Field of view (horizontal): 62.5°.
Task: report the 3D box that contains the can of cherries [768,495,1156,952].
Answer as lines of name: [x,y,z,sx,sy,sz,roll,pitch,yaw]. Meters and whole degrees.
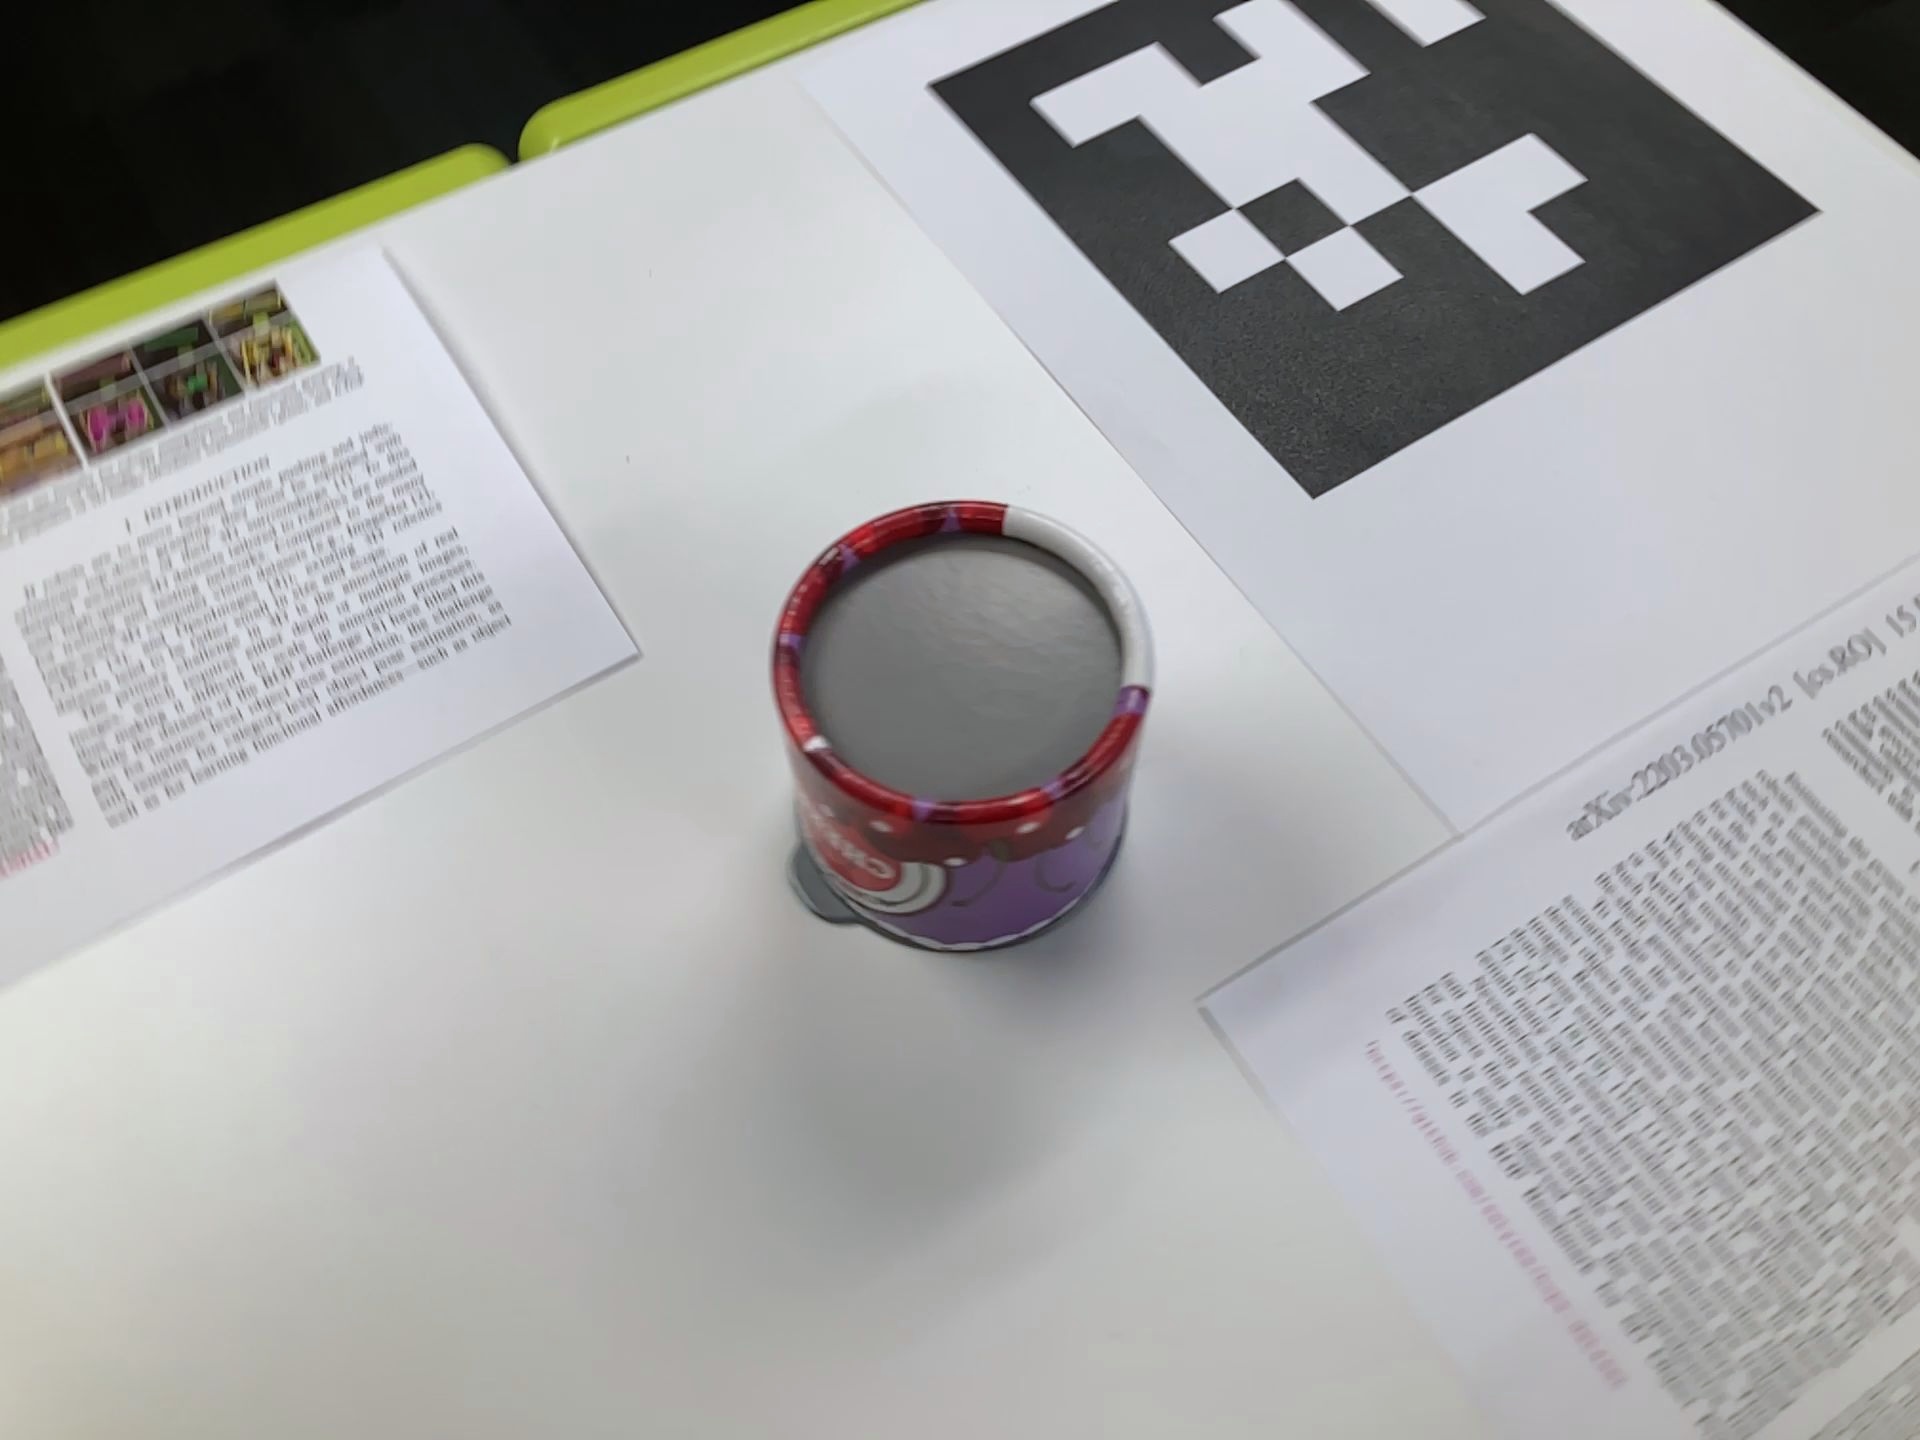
can of cherries: [-0.002,0.003,0.289,0.071,0.058,0.071,0,62,0]
